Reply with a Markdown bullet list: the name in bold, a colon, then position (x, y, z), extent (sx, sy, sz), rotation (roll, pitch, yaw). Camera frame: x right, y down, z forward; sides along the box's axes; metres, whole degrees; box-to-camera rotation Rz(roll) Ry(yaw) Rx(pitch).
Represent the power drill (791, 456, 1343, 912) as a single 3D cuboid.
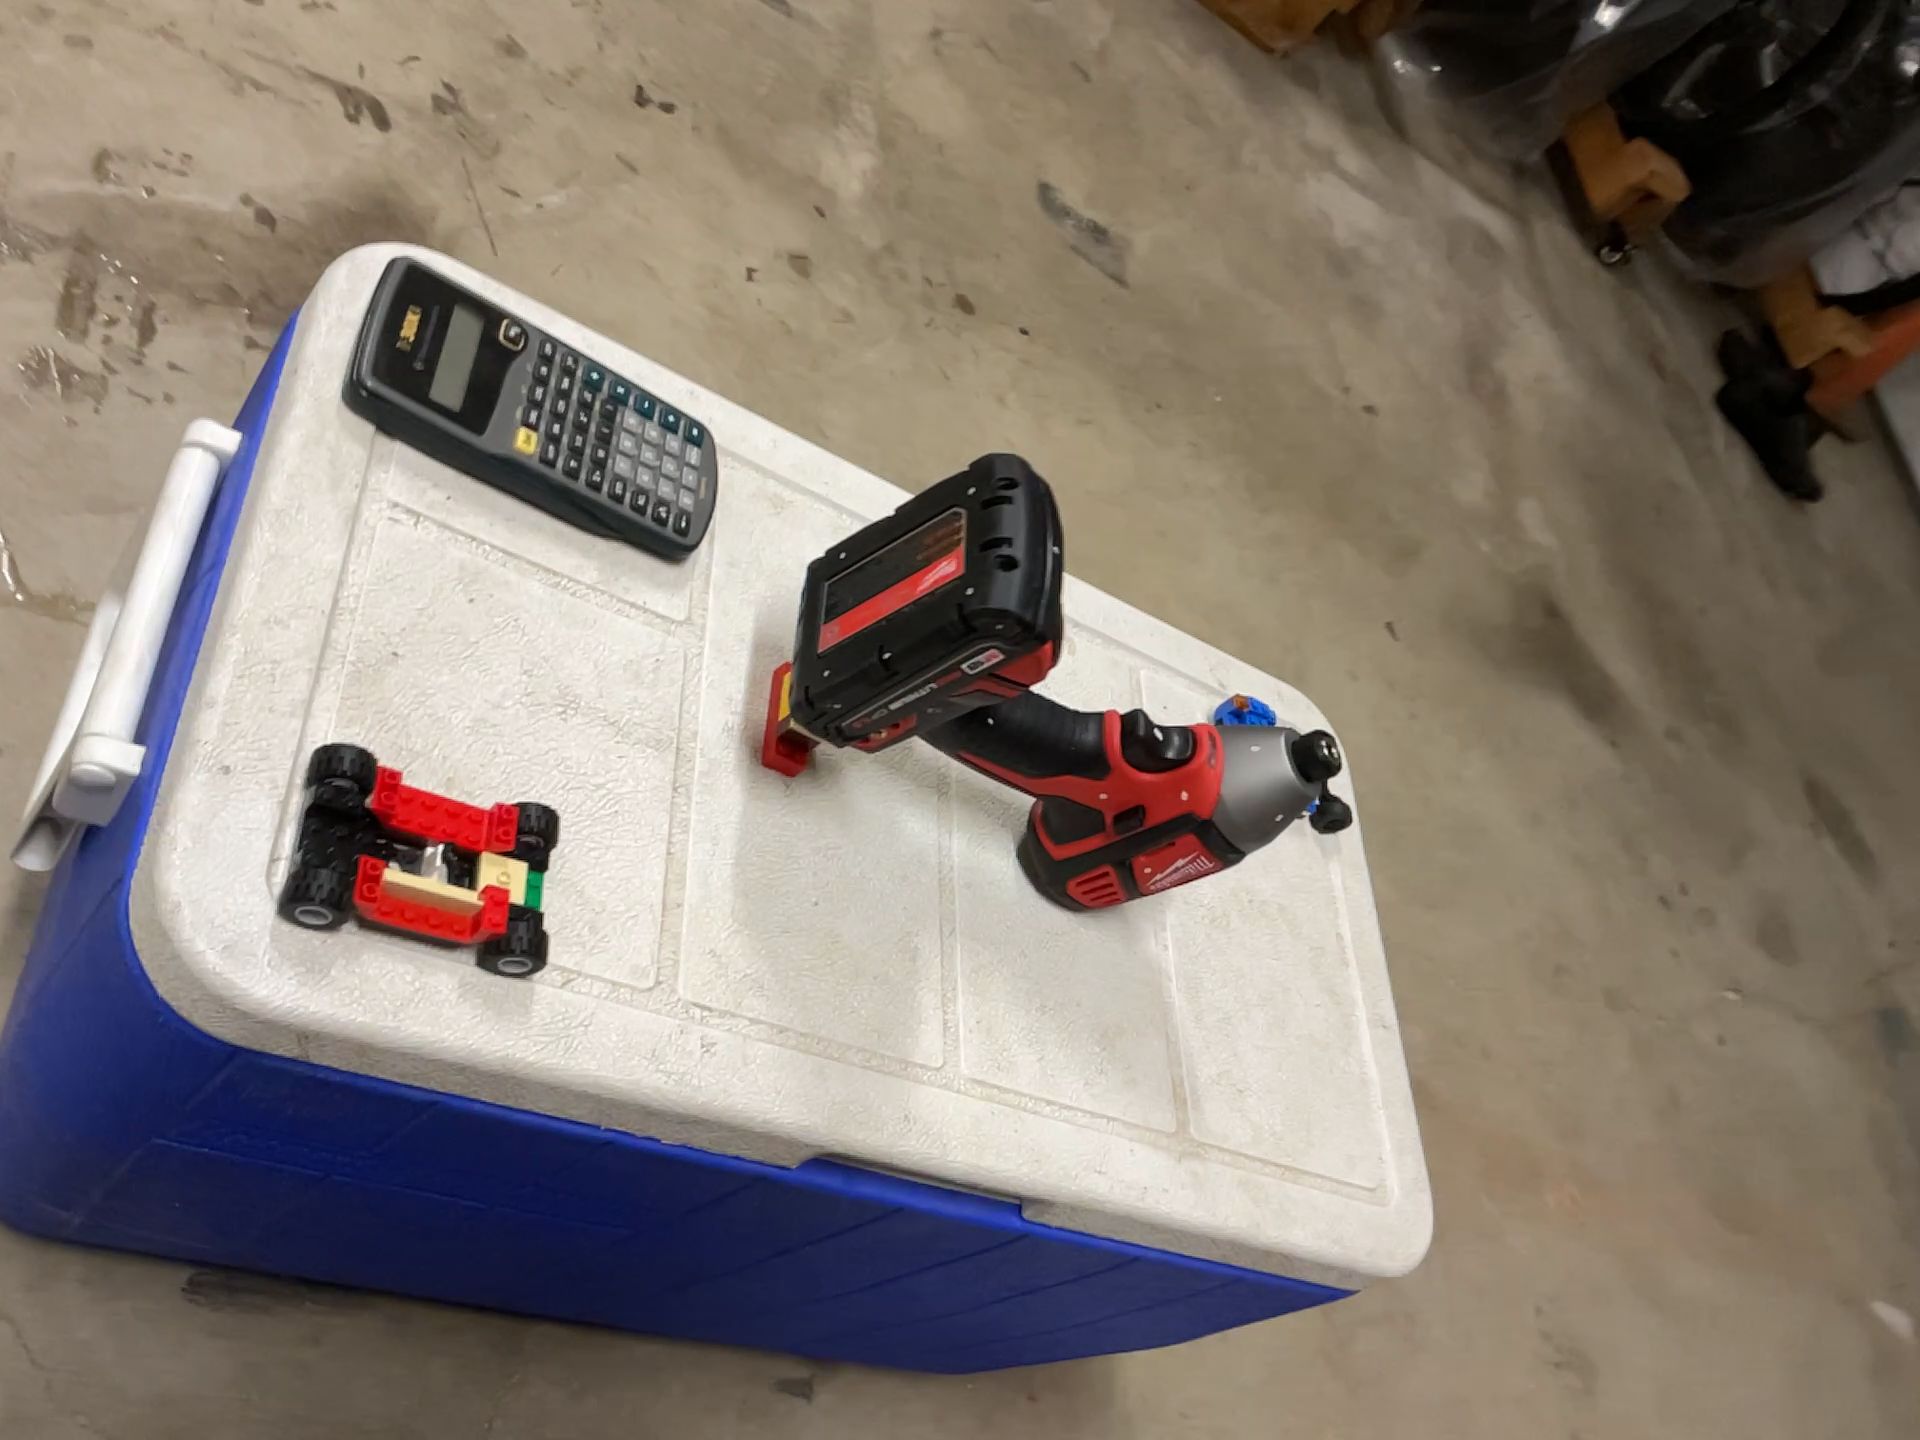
- **power drill**: position (0.049, -0.001, 0.648), extent (0.219, 0.143, 0.079), rotation (38, 41, -38)
